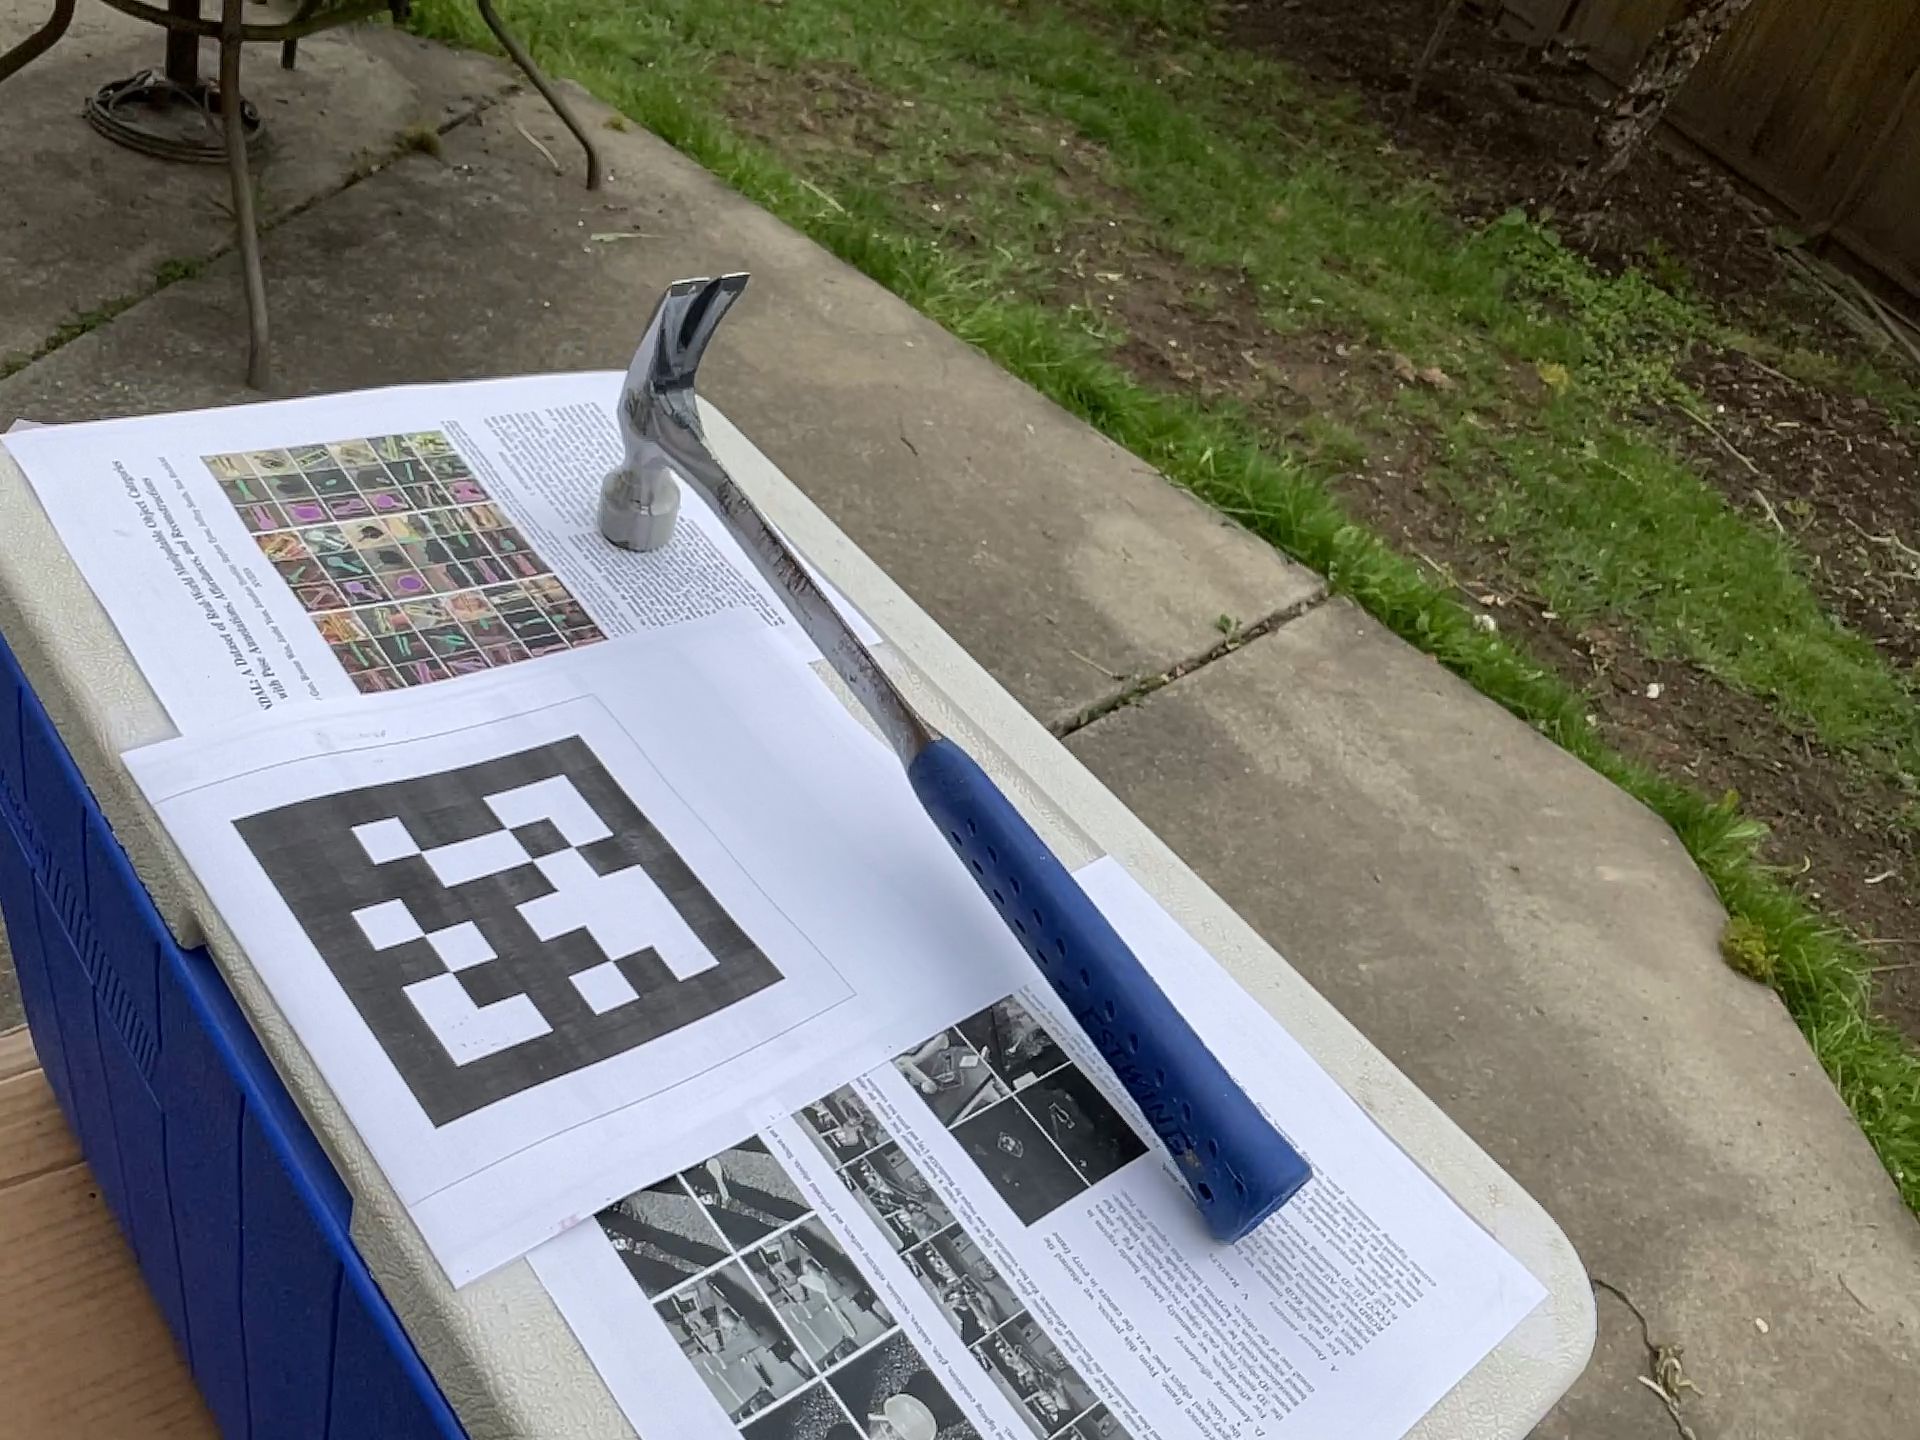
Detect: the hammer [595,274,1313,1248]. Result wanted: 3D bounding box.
[{"bbox_3d":[-0.017,0.004,0.575,0.035,0.144,0.405,-20,60,-35],"label":"hammer"}]
